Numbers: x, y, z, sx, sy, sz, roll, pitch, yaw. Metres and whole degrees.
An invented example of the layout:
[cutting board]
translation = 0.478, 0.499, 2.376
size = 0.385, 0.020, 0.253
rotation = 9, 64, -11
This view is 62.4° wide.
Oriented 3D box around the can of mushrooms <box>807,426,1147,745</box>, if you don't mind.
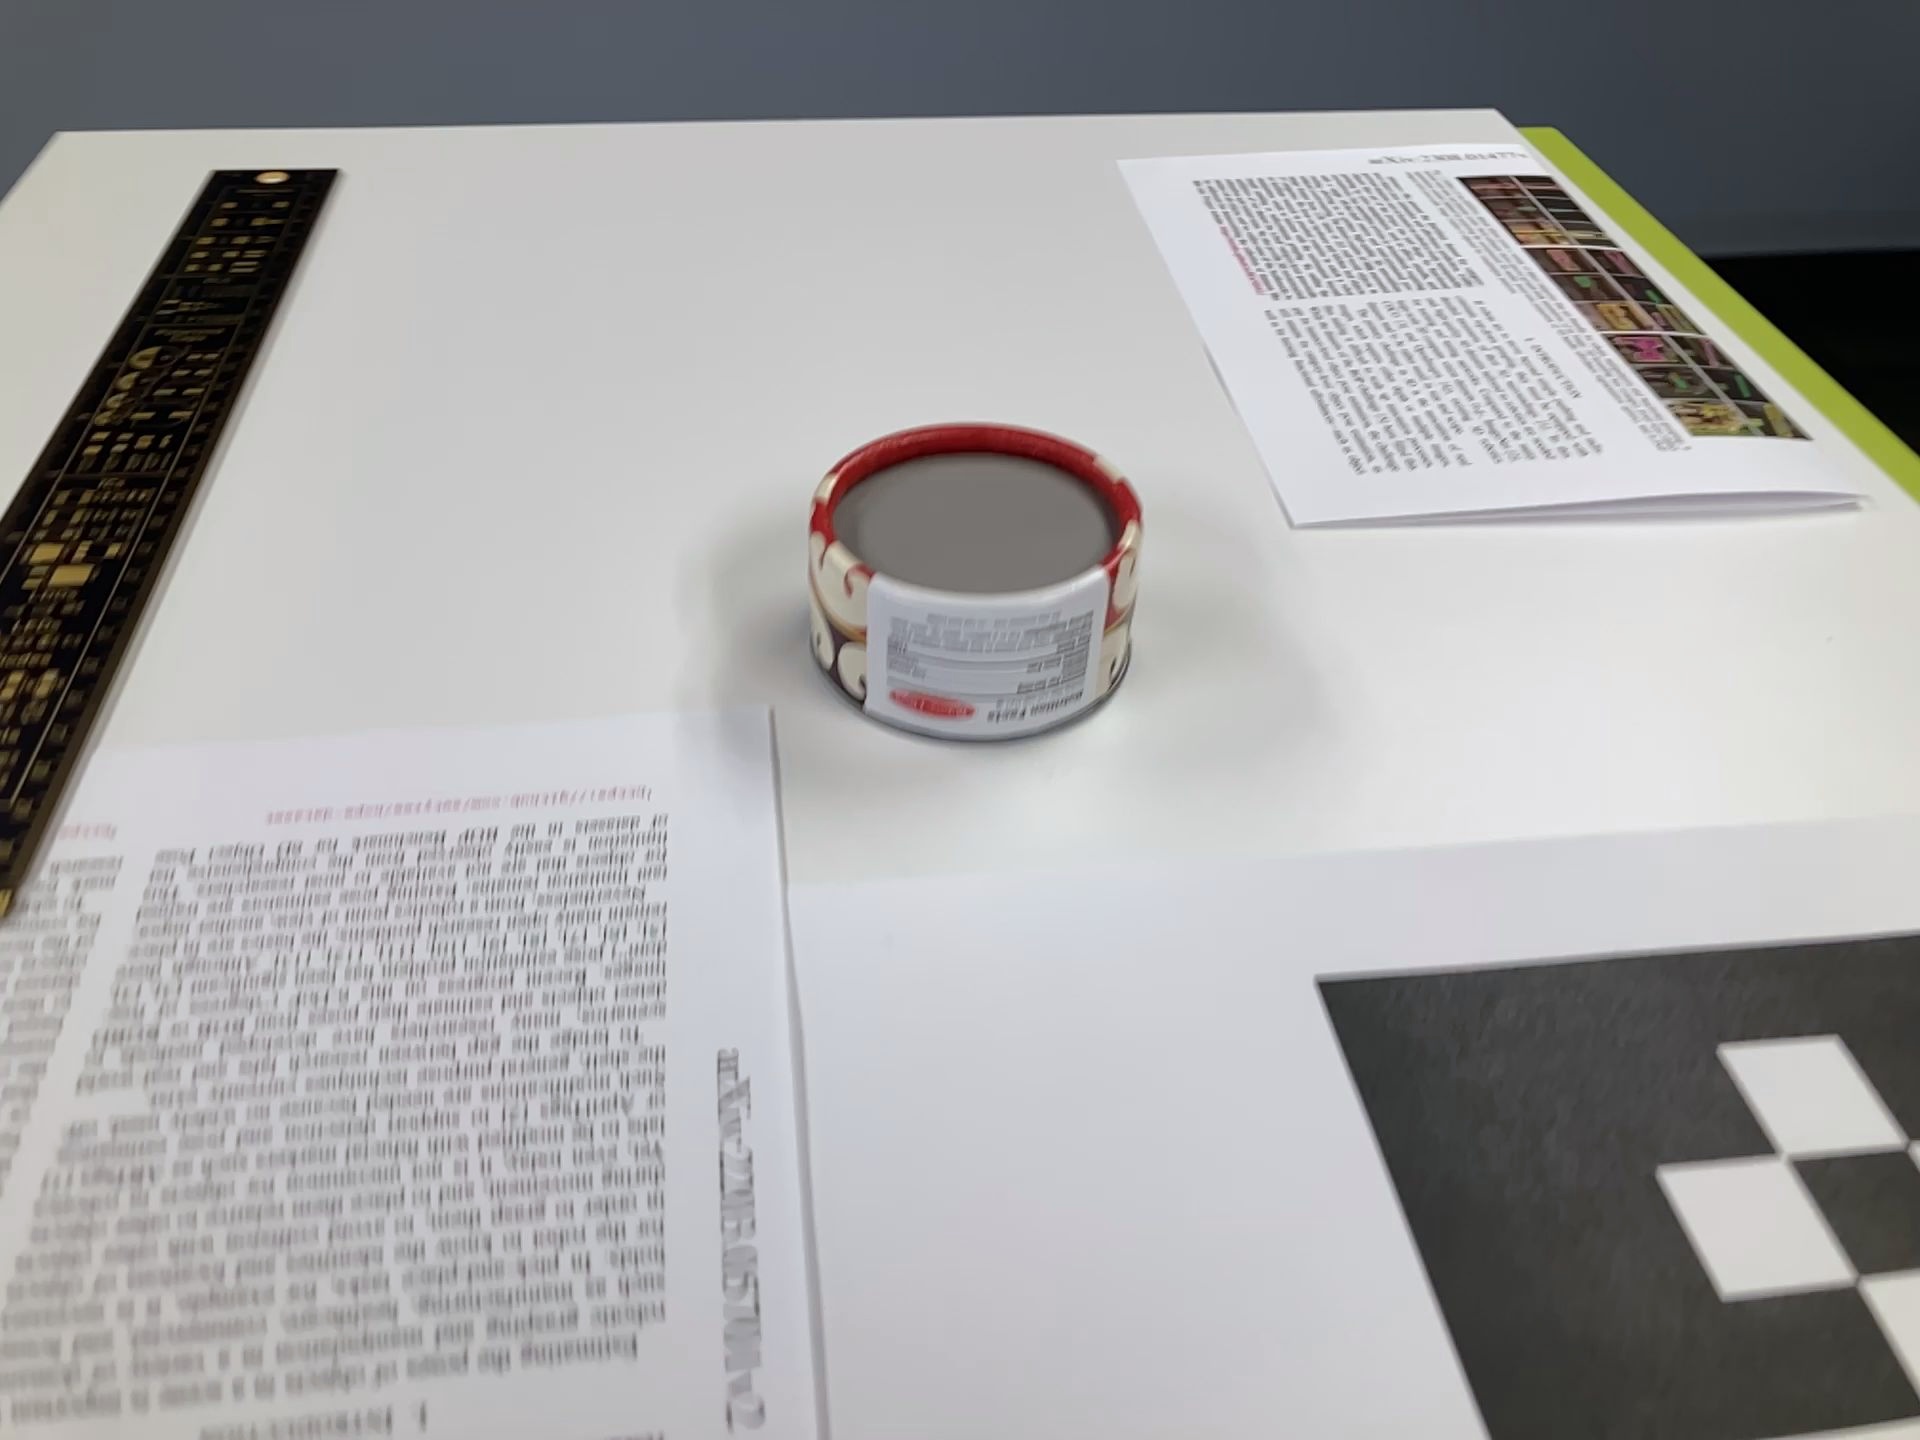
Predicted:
[can of mushrooms]
translation = 0.003, -0.030, 0.315
size = 0.071, 0.033, 0.071
rotation = 1, 40, -1
